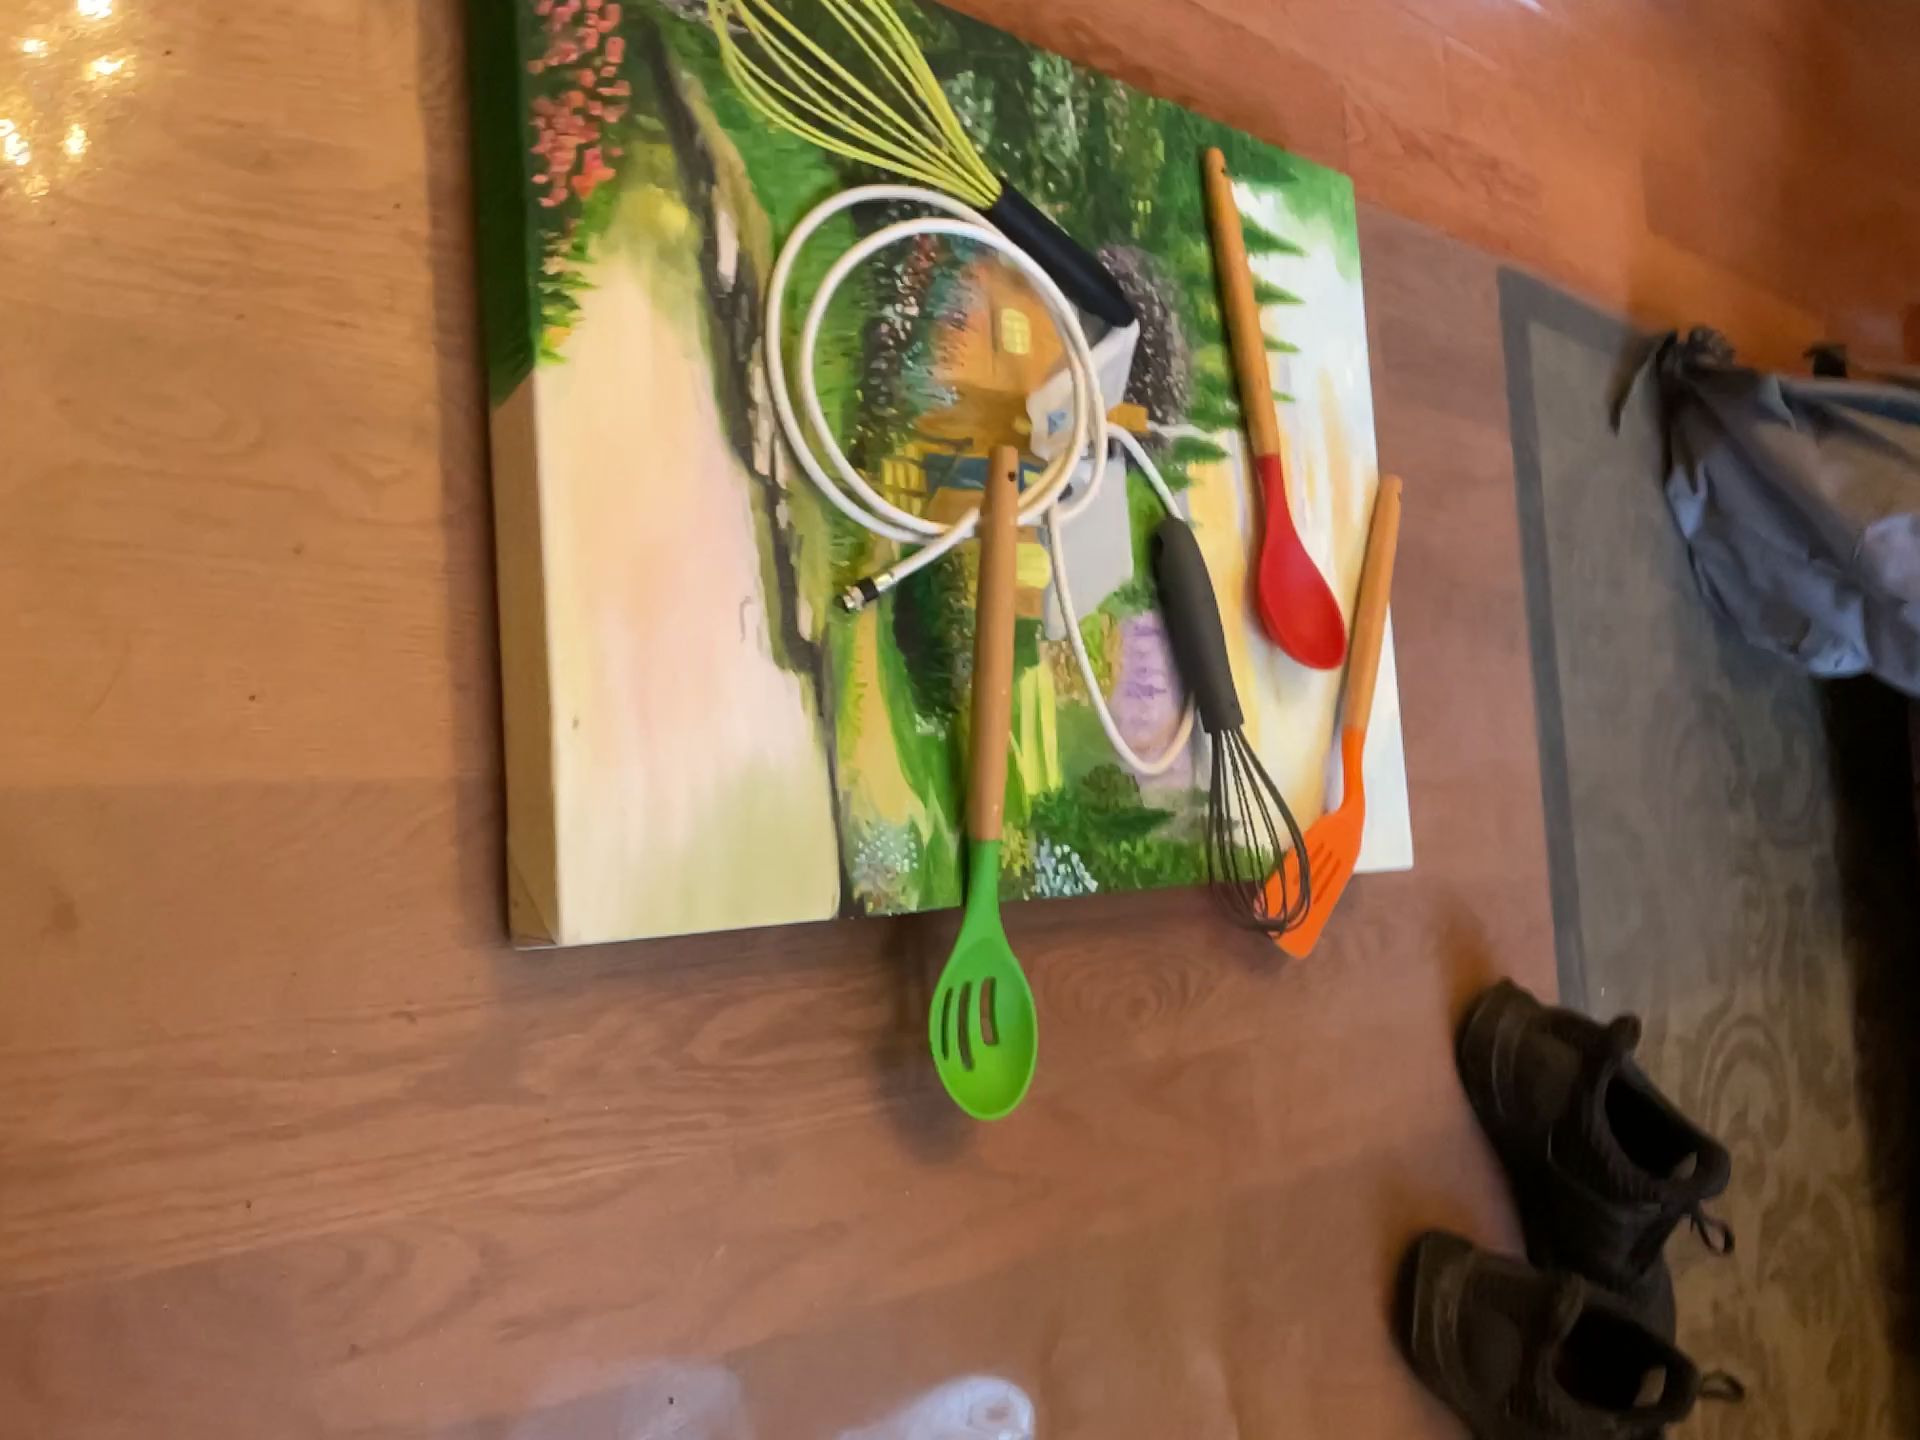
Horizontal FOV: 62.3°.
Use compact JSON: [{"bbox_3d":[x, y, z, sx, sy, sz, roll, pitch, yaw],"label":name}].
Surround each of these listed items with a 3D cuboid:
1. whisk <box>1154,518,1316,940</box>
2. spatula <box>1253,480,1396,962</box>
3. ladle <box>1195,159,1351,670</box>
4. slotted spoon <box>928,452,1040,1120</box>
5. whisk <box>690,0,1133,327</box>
[{"bbox_3d":[0.146,0.003,0.875,0.055,0.055,0.239,-9,83,-54],"label":"whisk"},{"bbox_3d":[0.238,-0.011,0.989,0.080,0.041,0.323,39,56,-45],"label":"spatula"},{"bbox_3d":[0.179,-0.181,0.950,0.069,0.031,0.315,-10,88,-45],"label":"ladle"},{"bbox_3d":[0.014,0.032,0.751,0.070,0.031,0.314,-3,97,-43],"label":"slotted spoon"},{"bbox_3d":[-0.009,-0.270,0.776,0.311,0.067,0.080,26,71,-44],"label":"whisk"}]
